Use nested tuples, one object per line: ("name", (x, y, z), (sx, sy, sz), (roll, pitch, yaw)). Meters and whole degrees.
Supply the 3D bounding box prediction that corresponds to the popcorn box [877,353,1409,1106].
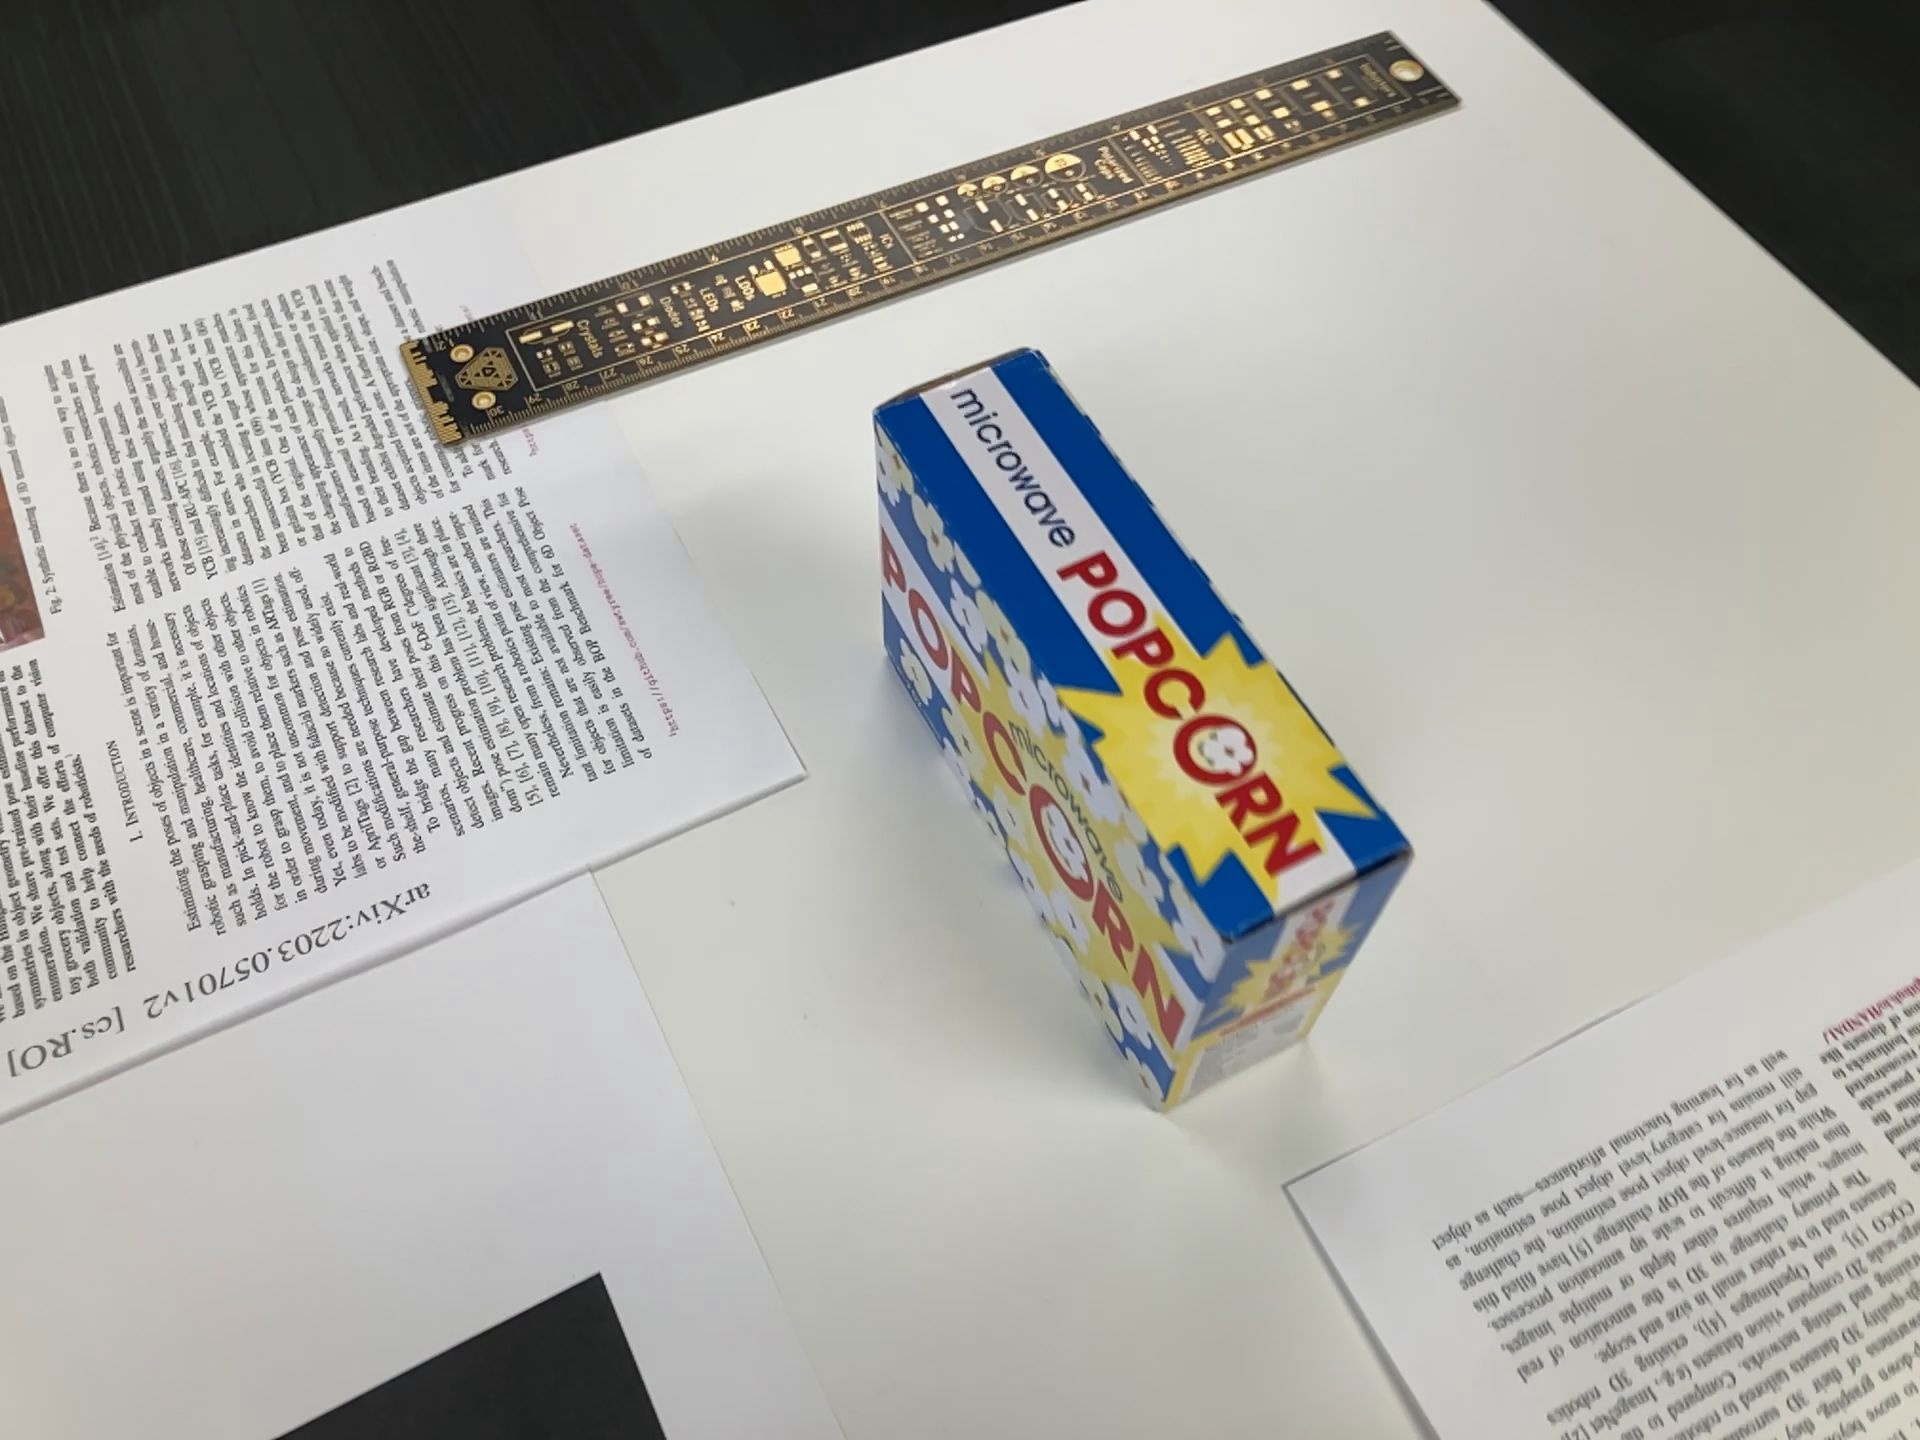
("popcorn box", (0.027, 0.002, 0.314), (0.038, 0.085, 0.126), (-23, 62, -15))
